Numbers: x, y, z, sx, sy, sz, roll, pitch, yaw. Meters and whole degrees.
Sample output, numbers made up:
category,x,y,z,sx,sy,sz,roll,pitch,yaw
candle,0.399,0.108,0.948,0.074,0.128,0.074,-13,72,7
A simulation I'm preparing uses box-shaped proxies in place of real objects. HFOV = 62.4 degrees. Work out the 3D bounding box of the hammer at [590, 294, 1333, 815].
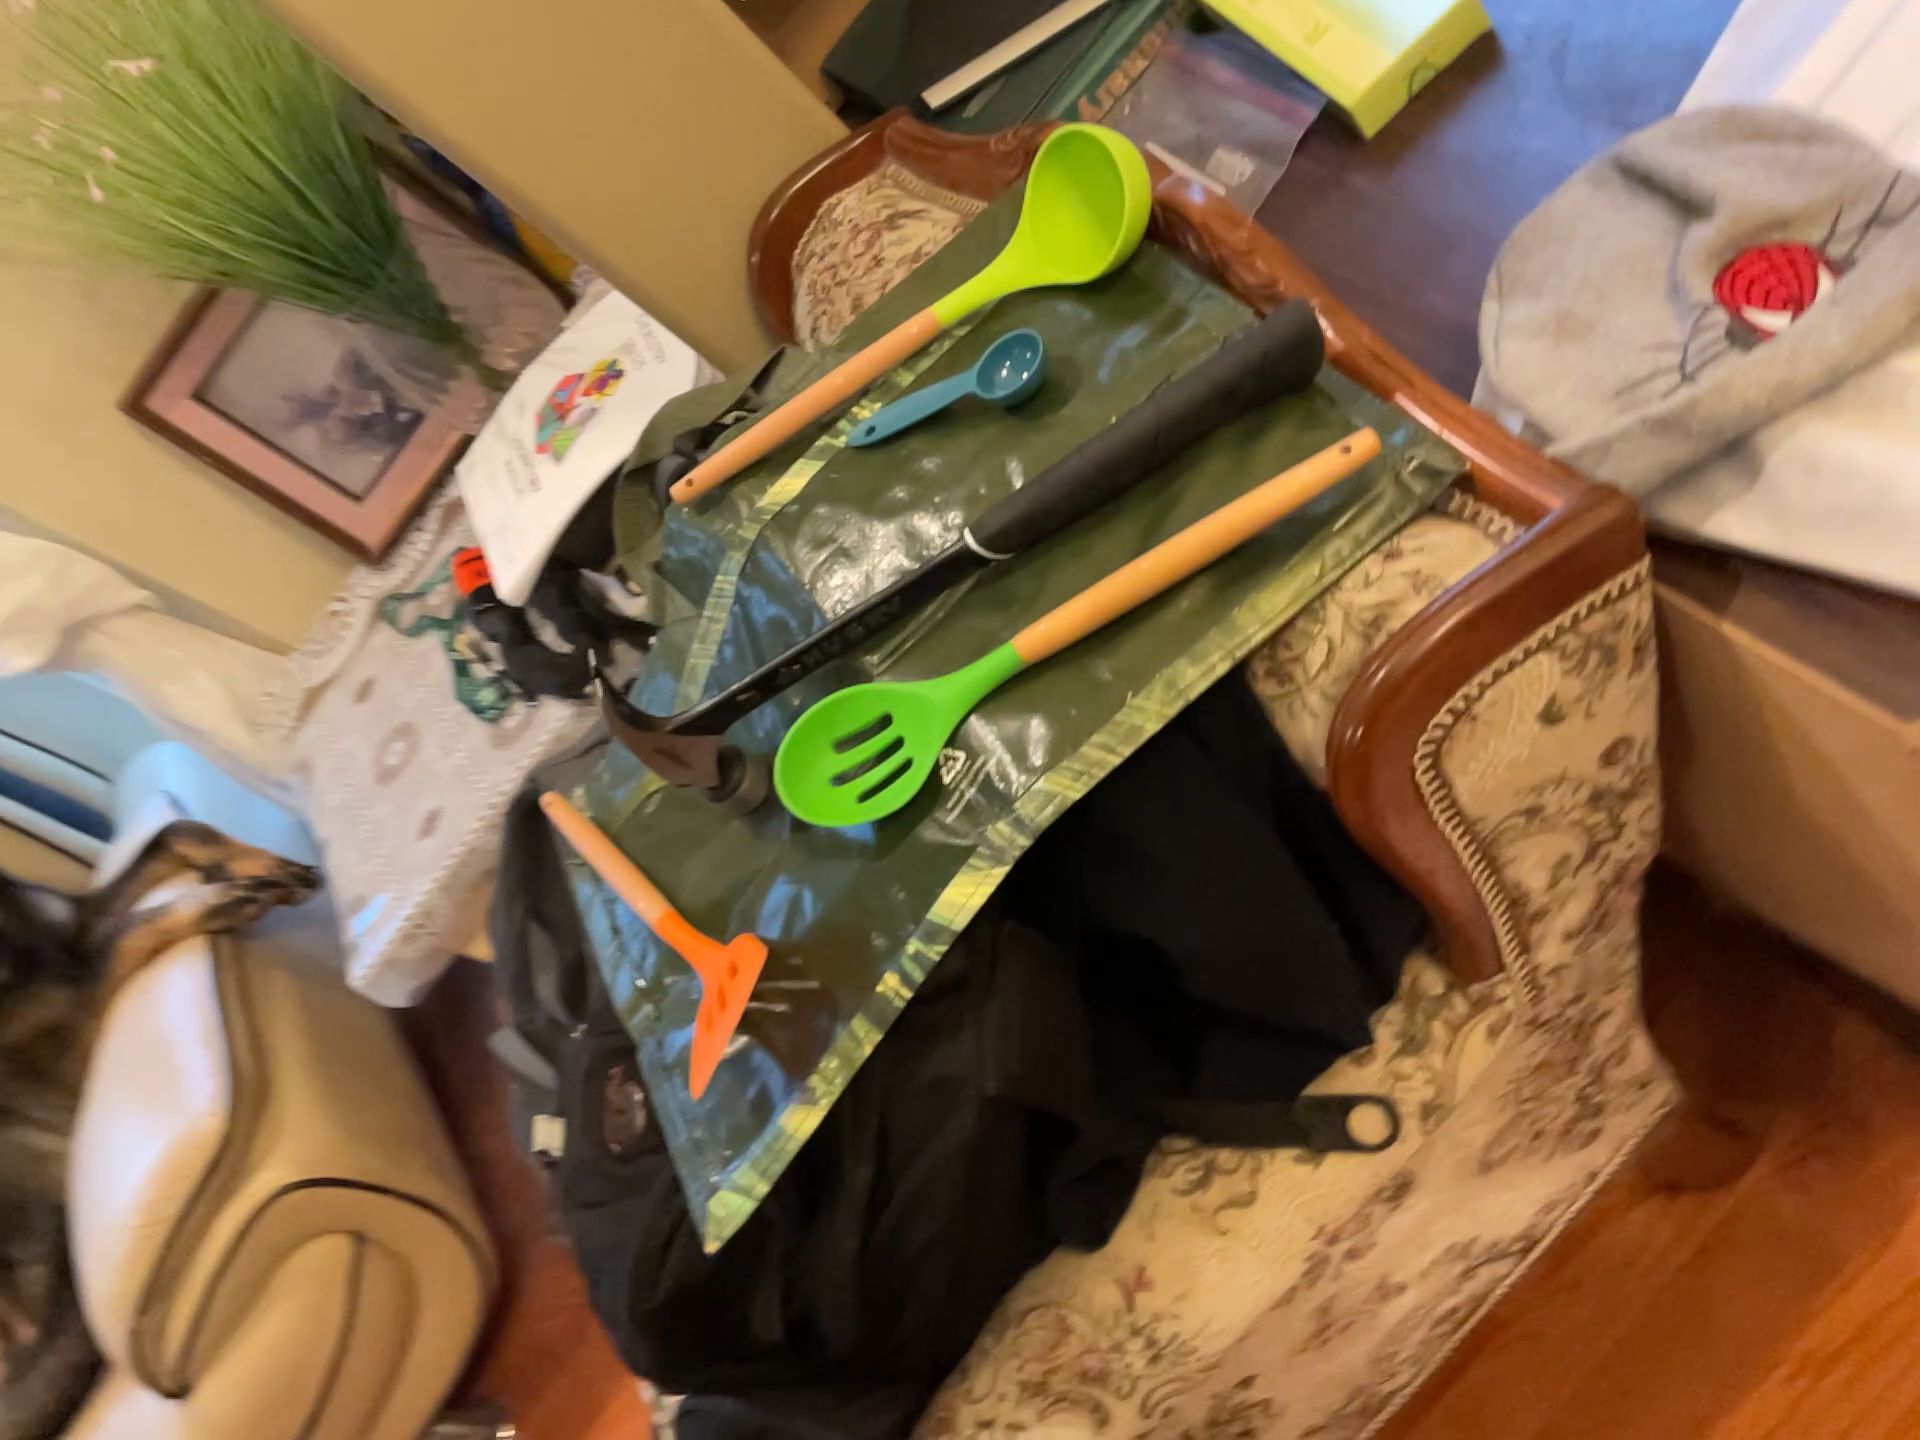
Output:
category,x,y,z,sx,sy,sz,roll,pitch,yaw
hammer,-0.001,-0.082,0.782,0.409,0.149,0.036,-31,56,16

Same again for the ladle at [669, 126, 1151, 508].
category,x,y,z,sx,sy,sz,roll,pitch,yaw
ladle,-0.037,-0.207,0.861,0.320,0.062,0.078,-31,74,16

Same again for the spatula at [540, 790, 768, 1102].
category,x,y,z,sx,sy,sz,roll,pitch,yaw
spatula,-0.181,0.101,0.882,0.323,0.041,0.081,31,96,50

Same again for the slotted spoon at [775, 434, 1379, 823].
category,x,y,z,sx,sy,sz,roll,pitch,yaw
slotted spoon,0.051,-0.042,0.731,0.314,0.031,0.070,-31,63,13

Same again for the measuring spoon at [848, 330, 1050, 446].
category,x,y,z,sx,sy,sz,roll,pitch,yaw
measuring spoon,-0.004,-0.166,0.836,0.129,0.021,0.042,-18,53,33
